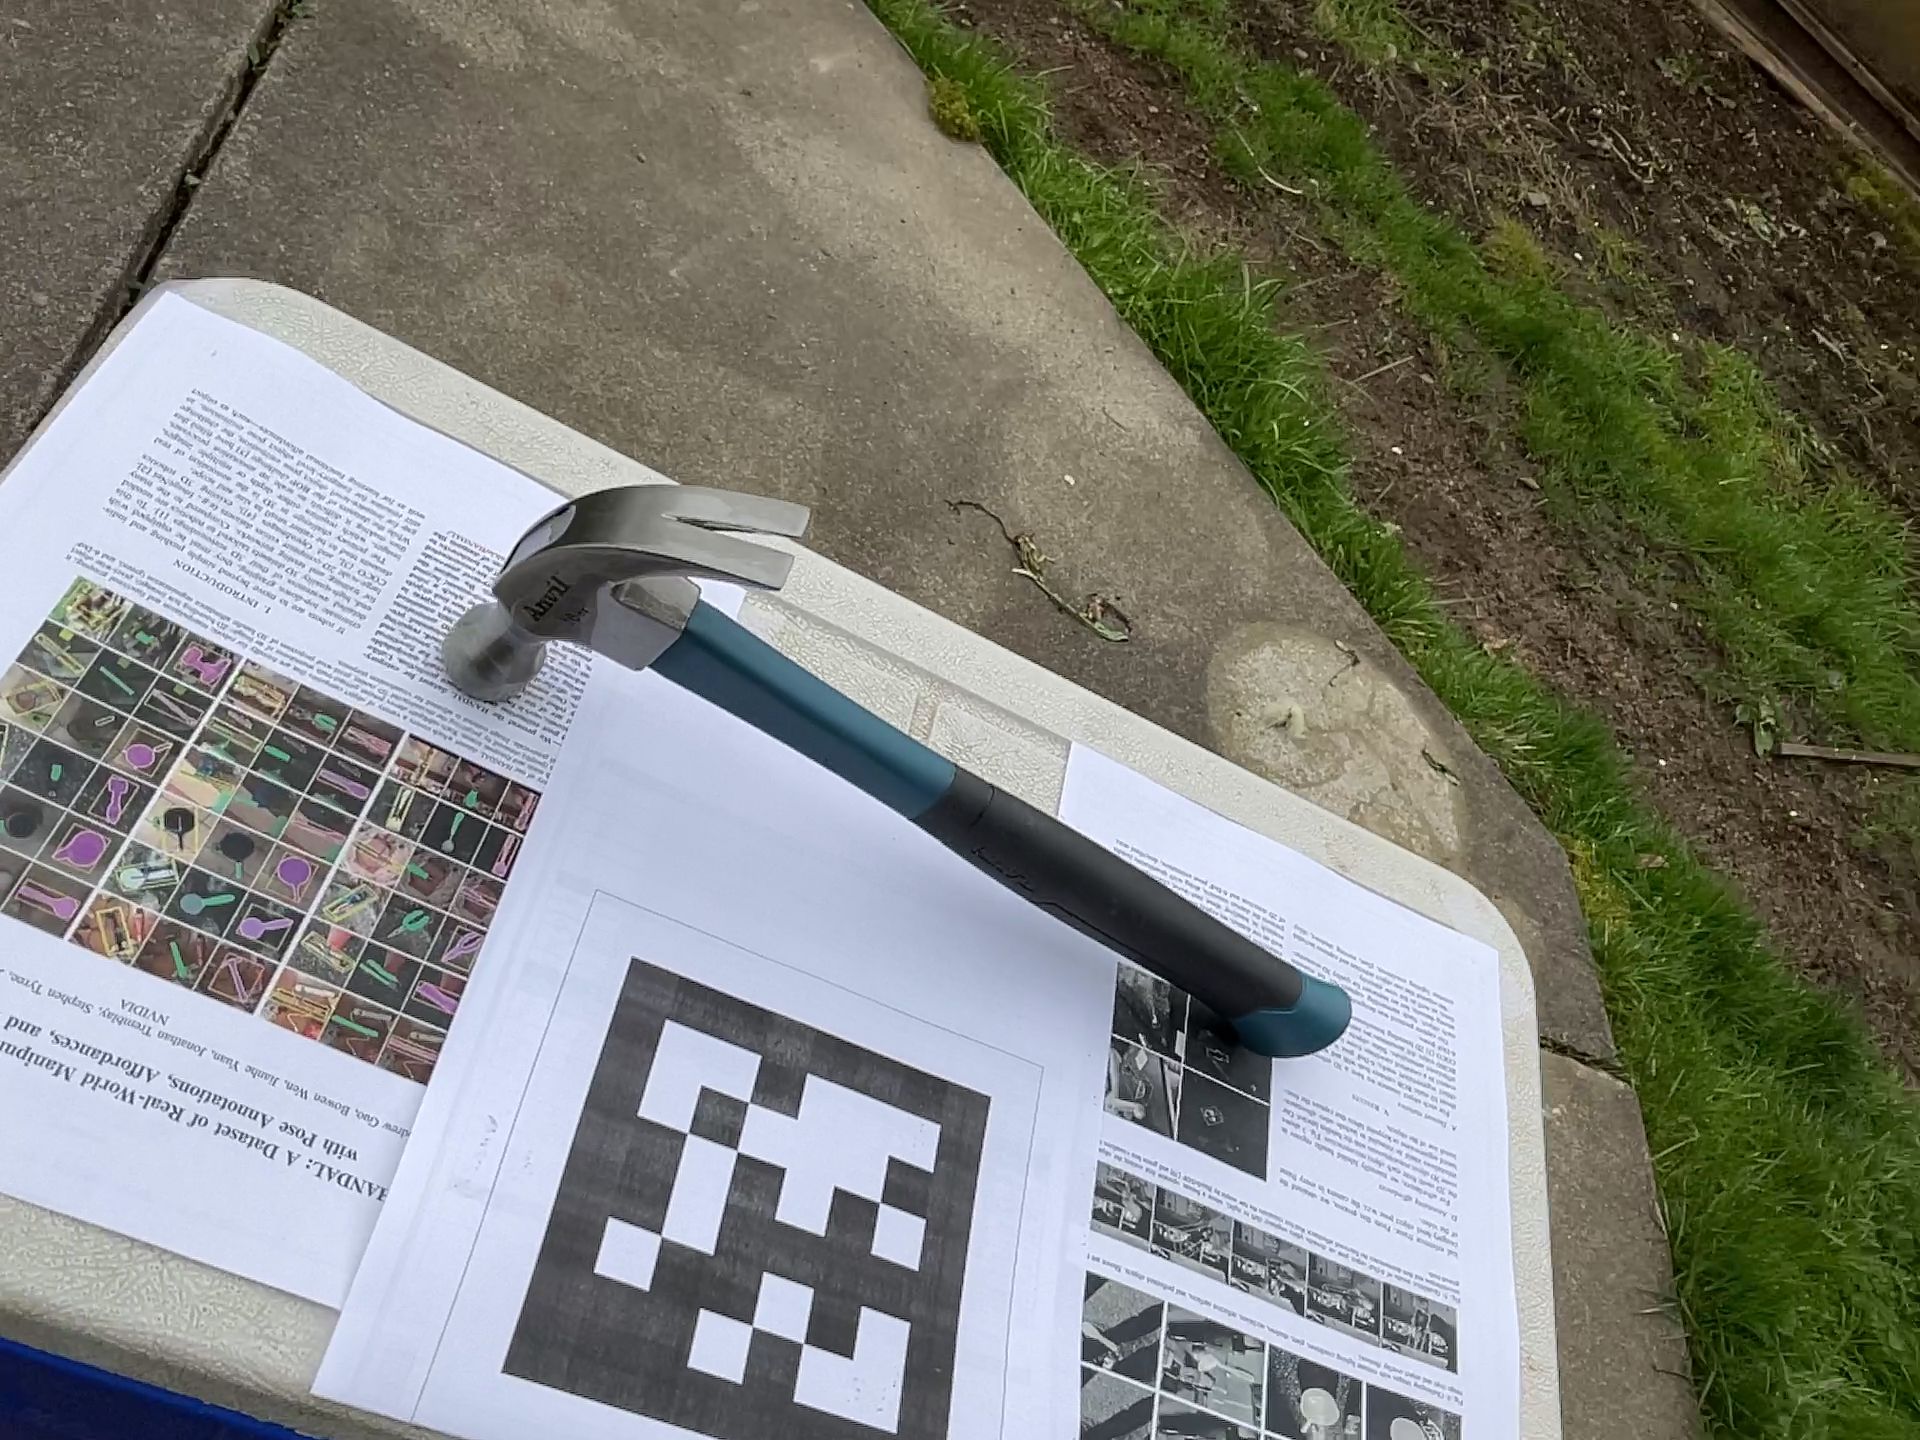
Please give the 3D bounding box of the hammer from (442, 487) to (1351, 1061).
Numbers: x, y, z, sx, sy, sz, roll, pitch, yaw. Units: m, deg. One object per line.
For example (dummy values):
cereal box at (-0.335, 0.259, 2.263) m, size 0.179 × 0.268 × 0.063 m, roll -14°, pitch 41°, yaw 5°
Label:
hammer at (0.000, 0.031, 0.529) m, size 0.331 × 0.128 × 0.033 m, roll 33°, pitch 49°, yaw -21°
